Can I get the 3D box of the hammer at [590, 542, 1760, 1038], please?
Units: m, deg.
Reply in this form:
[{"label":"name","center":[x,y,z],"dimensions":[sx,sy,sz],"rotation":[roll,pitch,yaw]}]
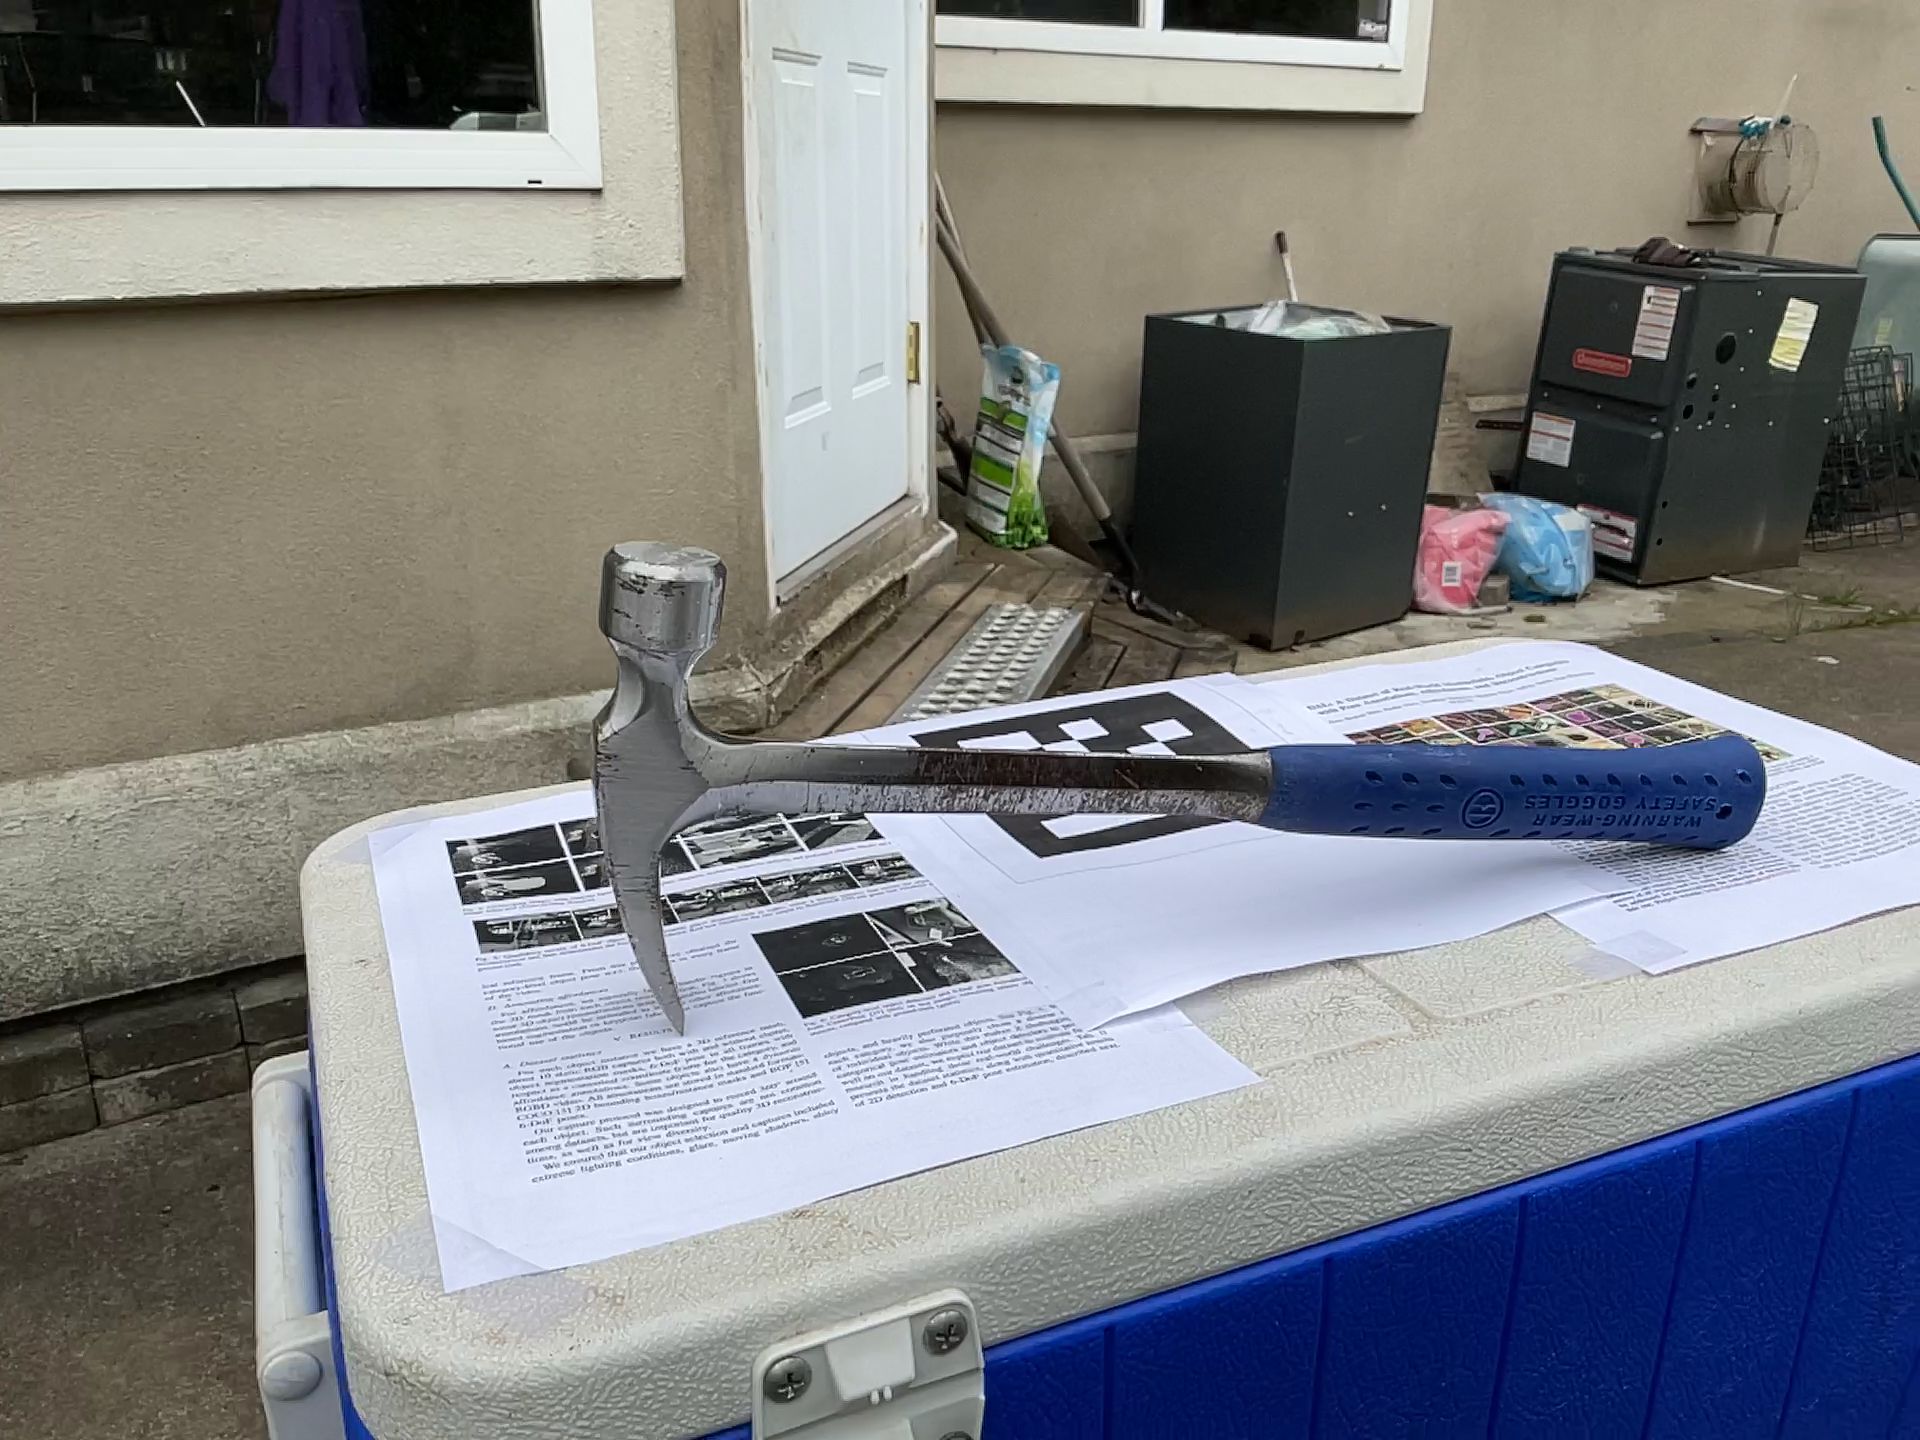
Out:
[{"label":"hammer","center":[0.085,0.027,0.520],"dimensions":[0.405,0.144,0.035],"rotation":[2,20,-19]}]
